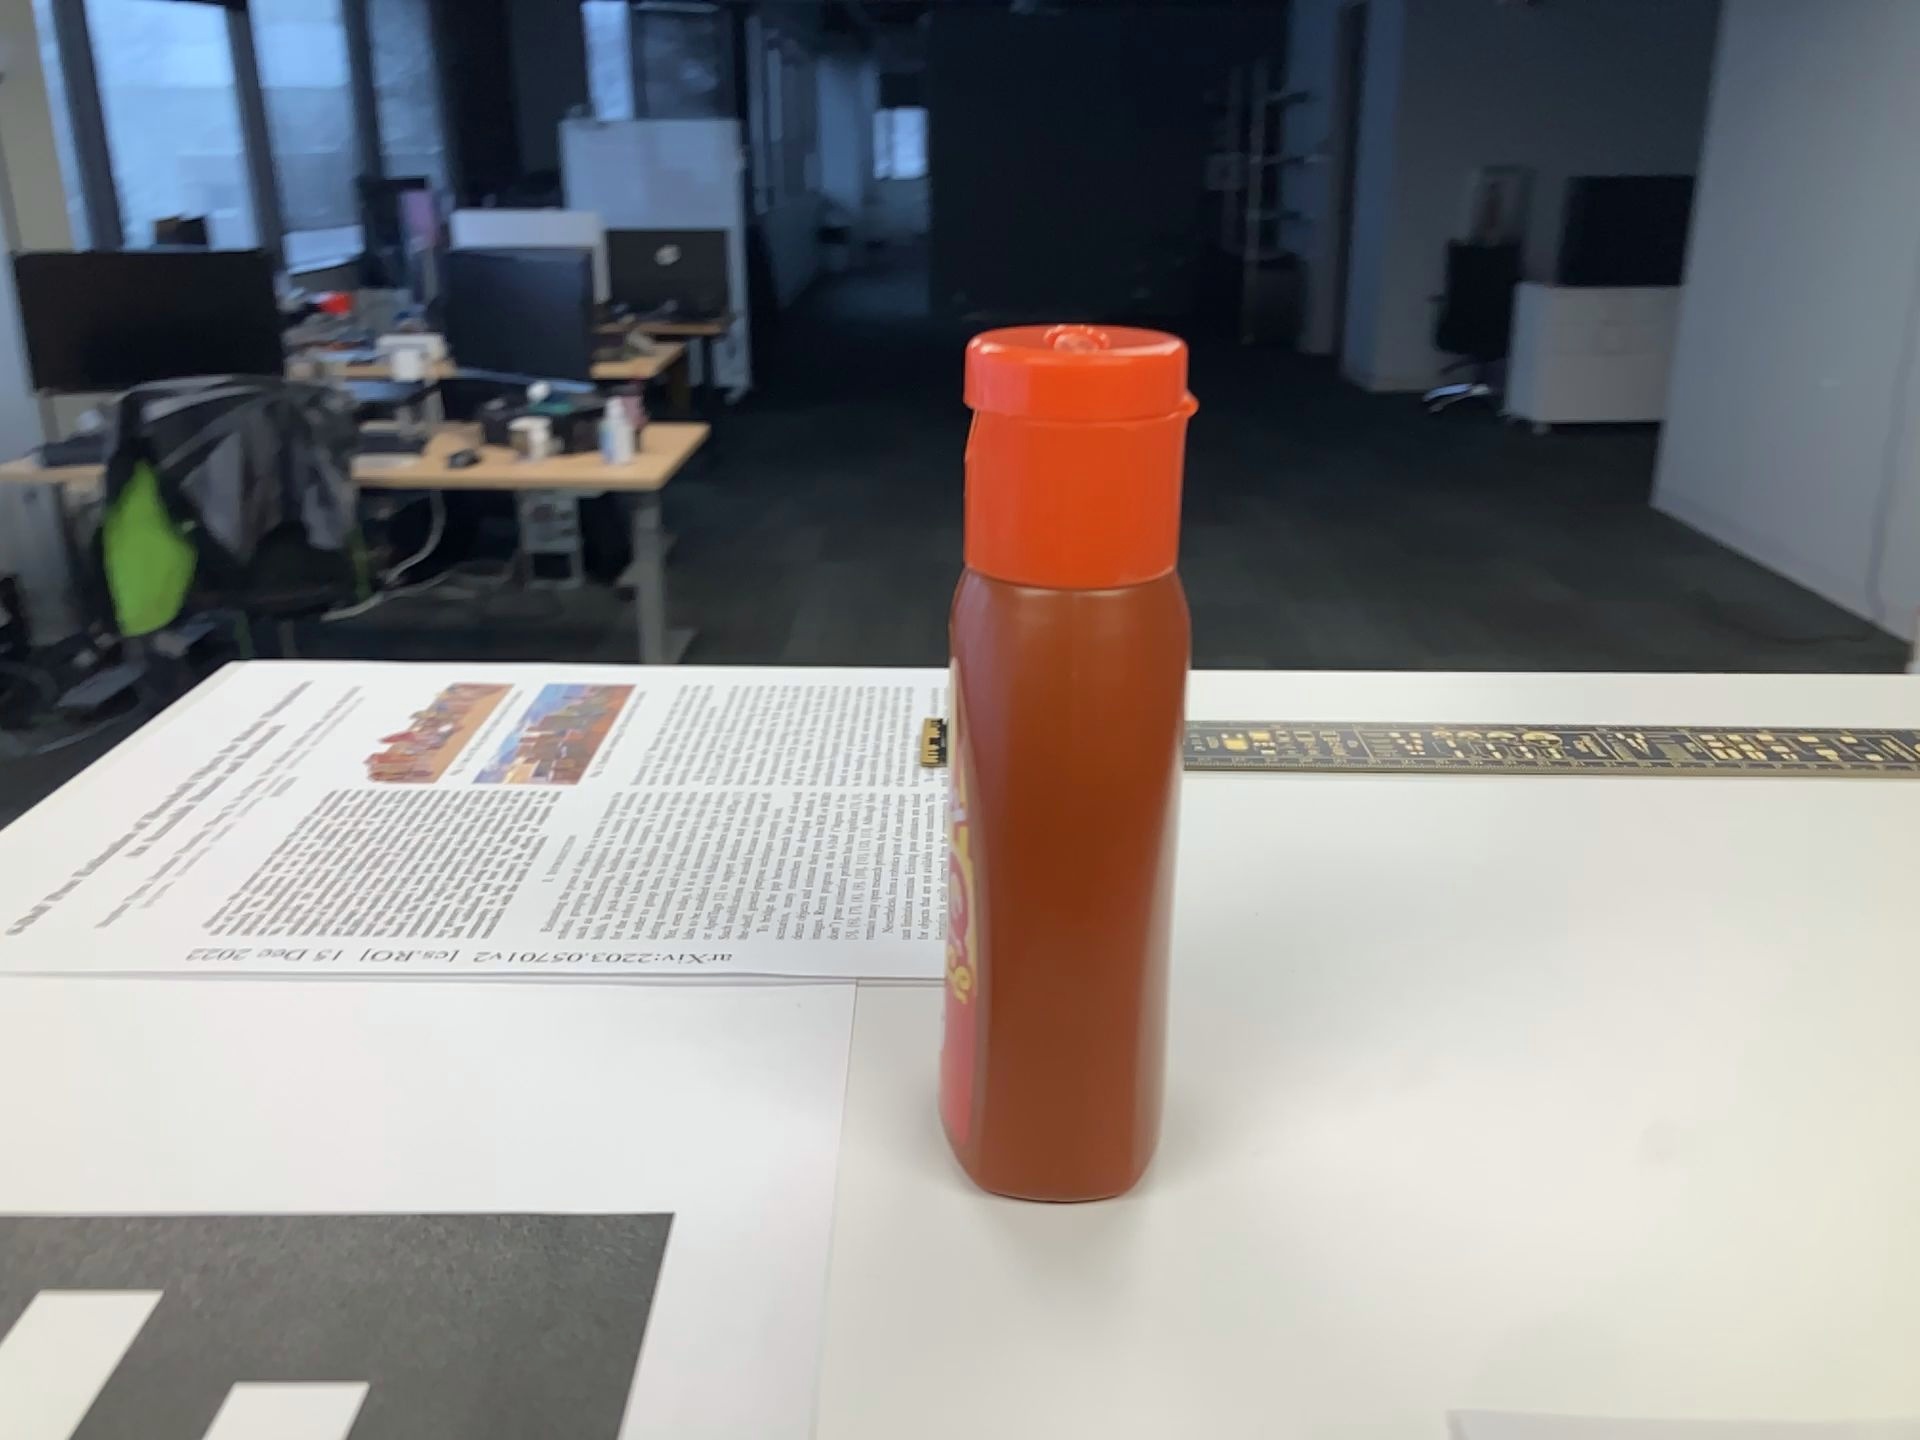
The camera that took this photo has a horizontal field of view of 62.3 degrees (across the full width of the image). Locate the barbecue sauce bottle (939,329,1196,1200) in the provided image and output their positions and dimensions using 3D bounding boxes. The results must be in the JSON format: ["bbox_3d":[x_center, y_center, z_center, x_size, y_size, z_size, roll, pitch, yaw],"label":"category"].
[{"bbox_3d":[0.019,0.007,0.285,0.043,0.148,0.065,1,20,1],"label":"barbecue sauce bottle"}]
